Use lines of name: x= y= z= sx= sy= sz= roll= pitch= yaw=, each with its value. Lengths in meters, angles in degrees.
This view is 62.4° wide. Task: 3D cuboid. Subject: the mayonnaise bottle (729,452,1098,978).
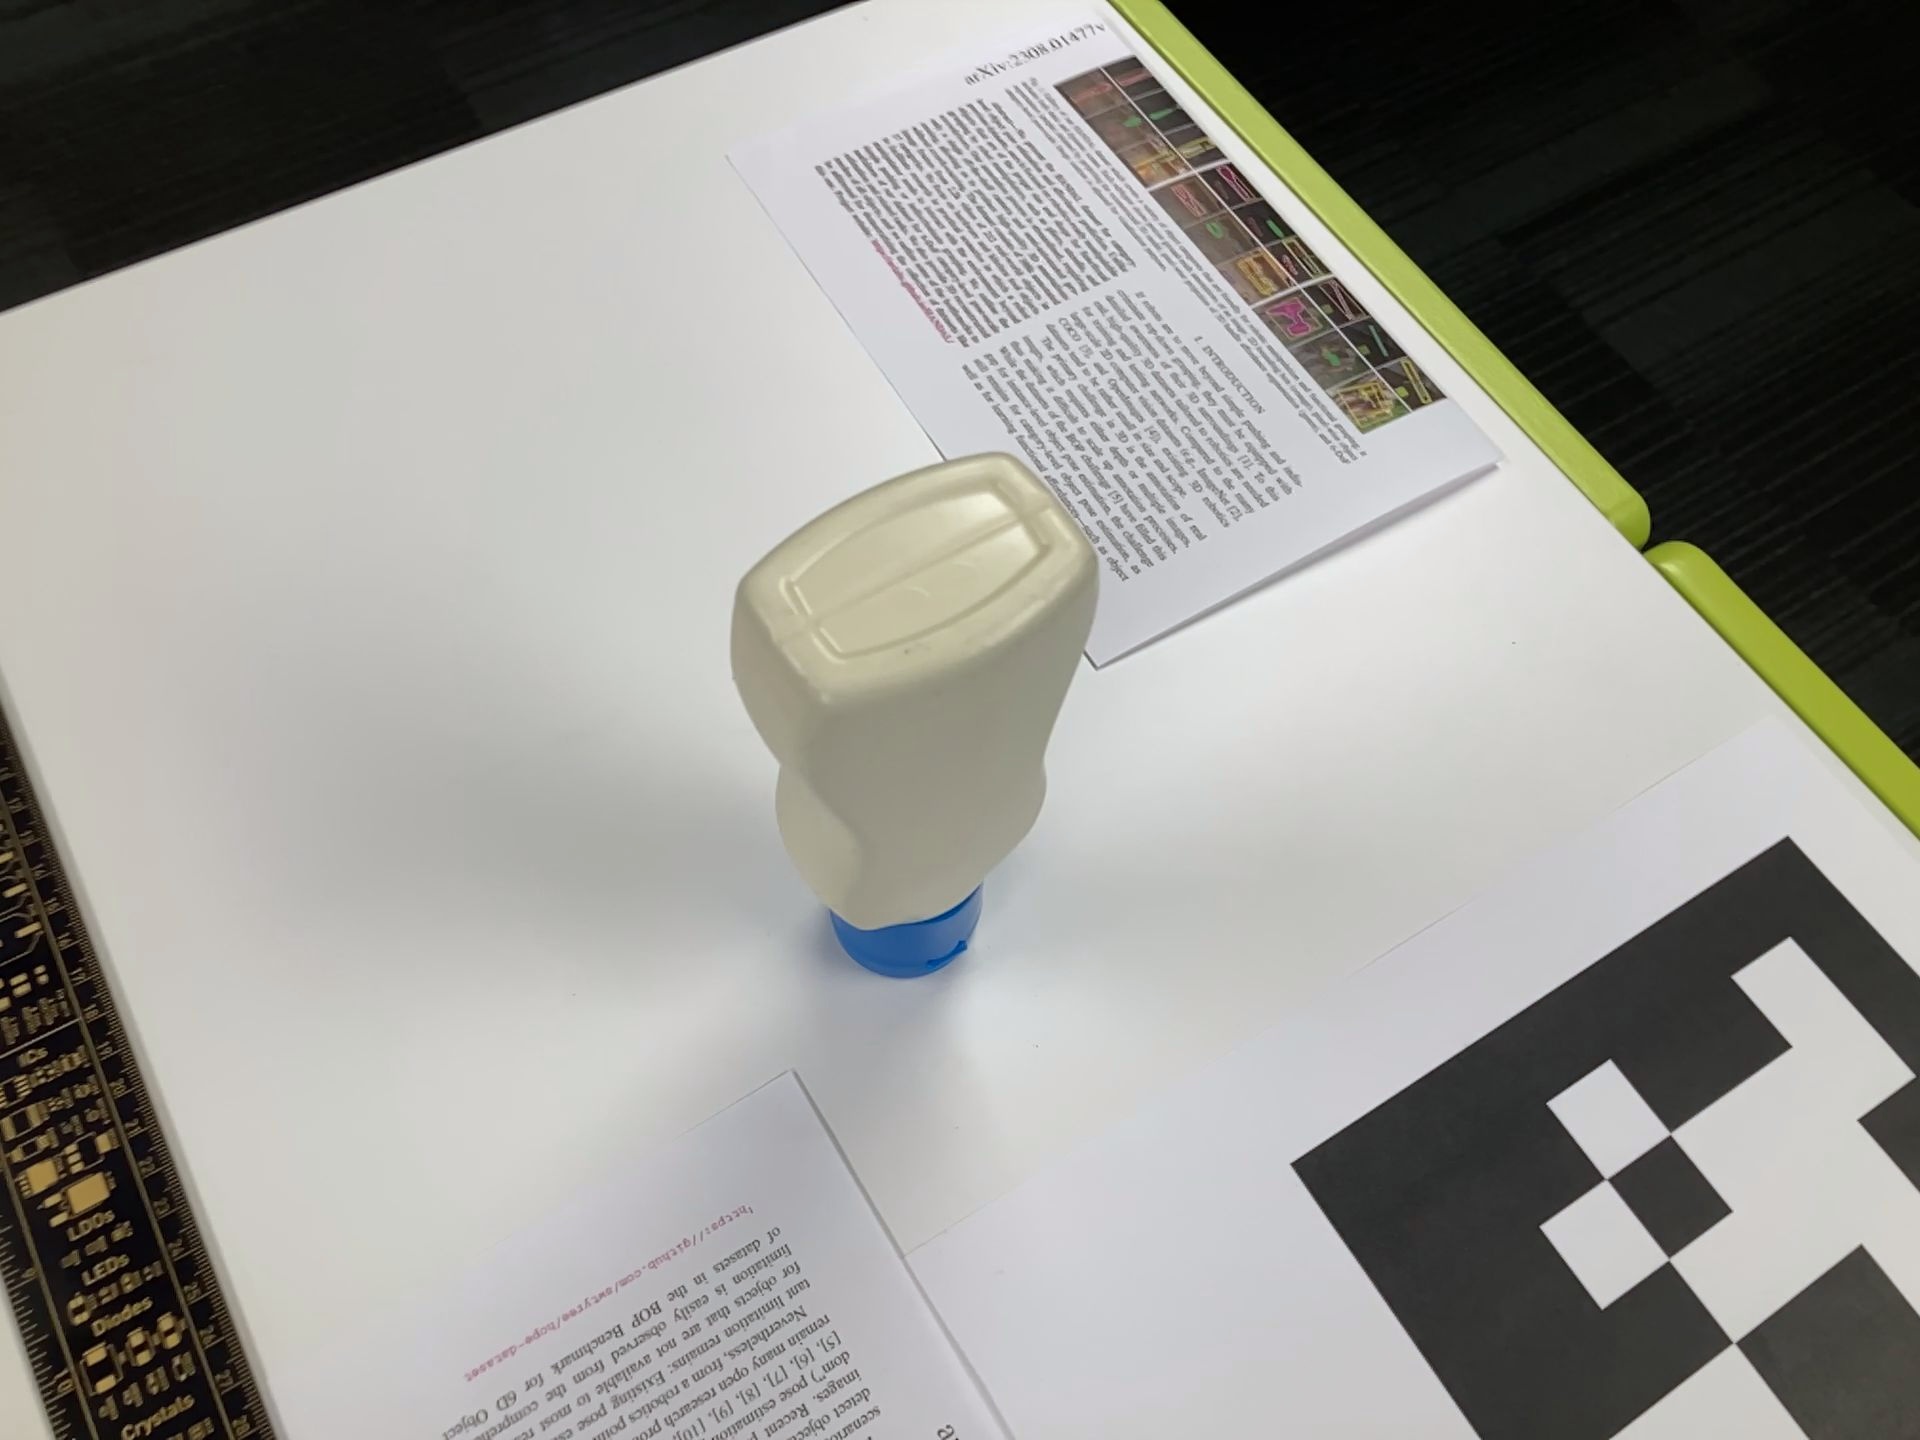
mayonnaise bottle: x=-0.010 y=0.011 z=0.324 sx=0.065 sy=0.148 sz=0.041 roll=-29 pitch=66 yaw=-18
